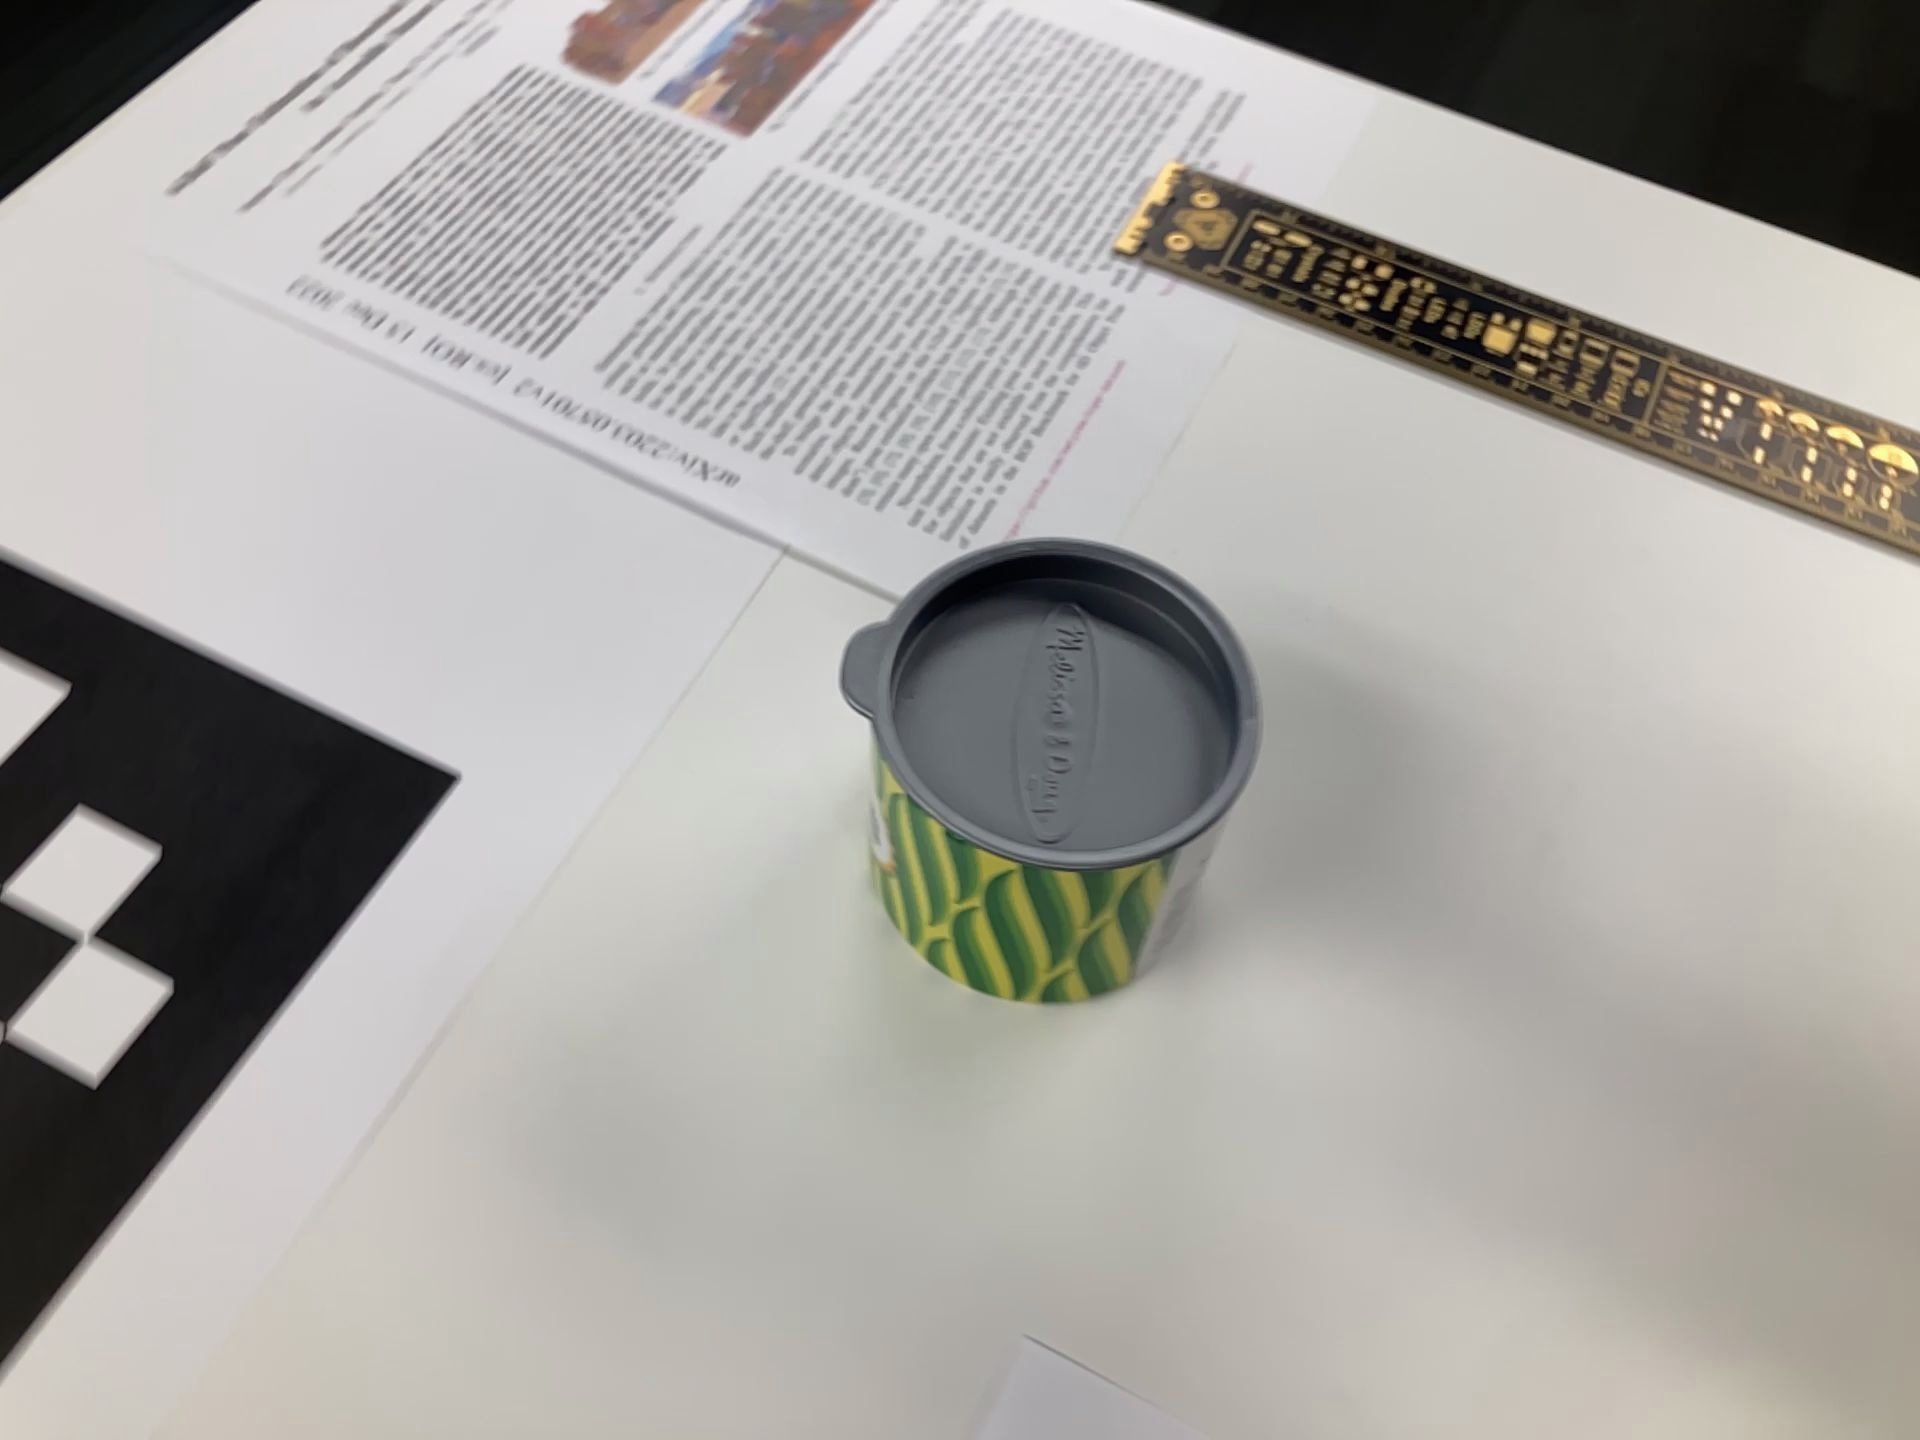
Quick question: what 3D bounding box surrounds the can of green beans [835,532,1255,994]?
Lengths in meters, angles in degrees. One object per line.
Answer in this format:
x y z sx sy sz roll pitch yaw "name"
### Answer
0.015 0.009 0.294 0.071 0.058 0.071 2 57 -3 "can of green beans"
